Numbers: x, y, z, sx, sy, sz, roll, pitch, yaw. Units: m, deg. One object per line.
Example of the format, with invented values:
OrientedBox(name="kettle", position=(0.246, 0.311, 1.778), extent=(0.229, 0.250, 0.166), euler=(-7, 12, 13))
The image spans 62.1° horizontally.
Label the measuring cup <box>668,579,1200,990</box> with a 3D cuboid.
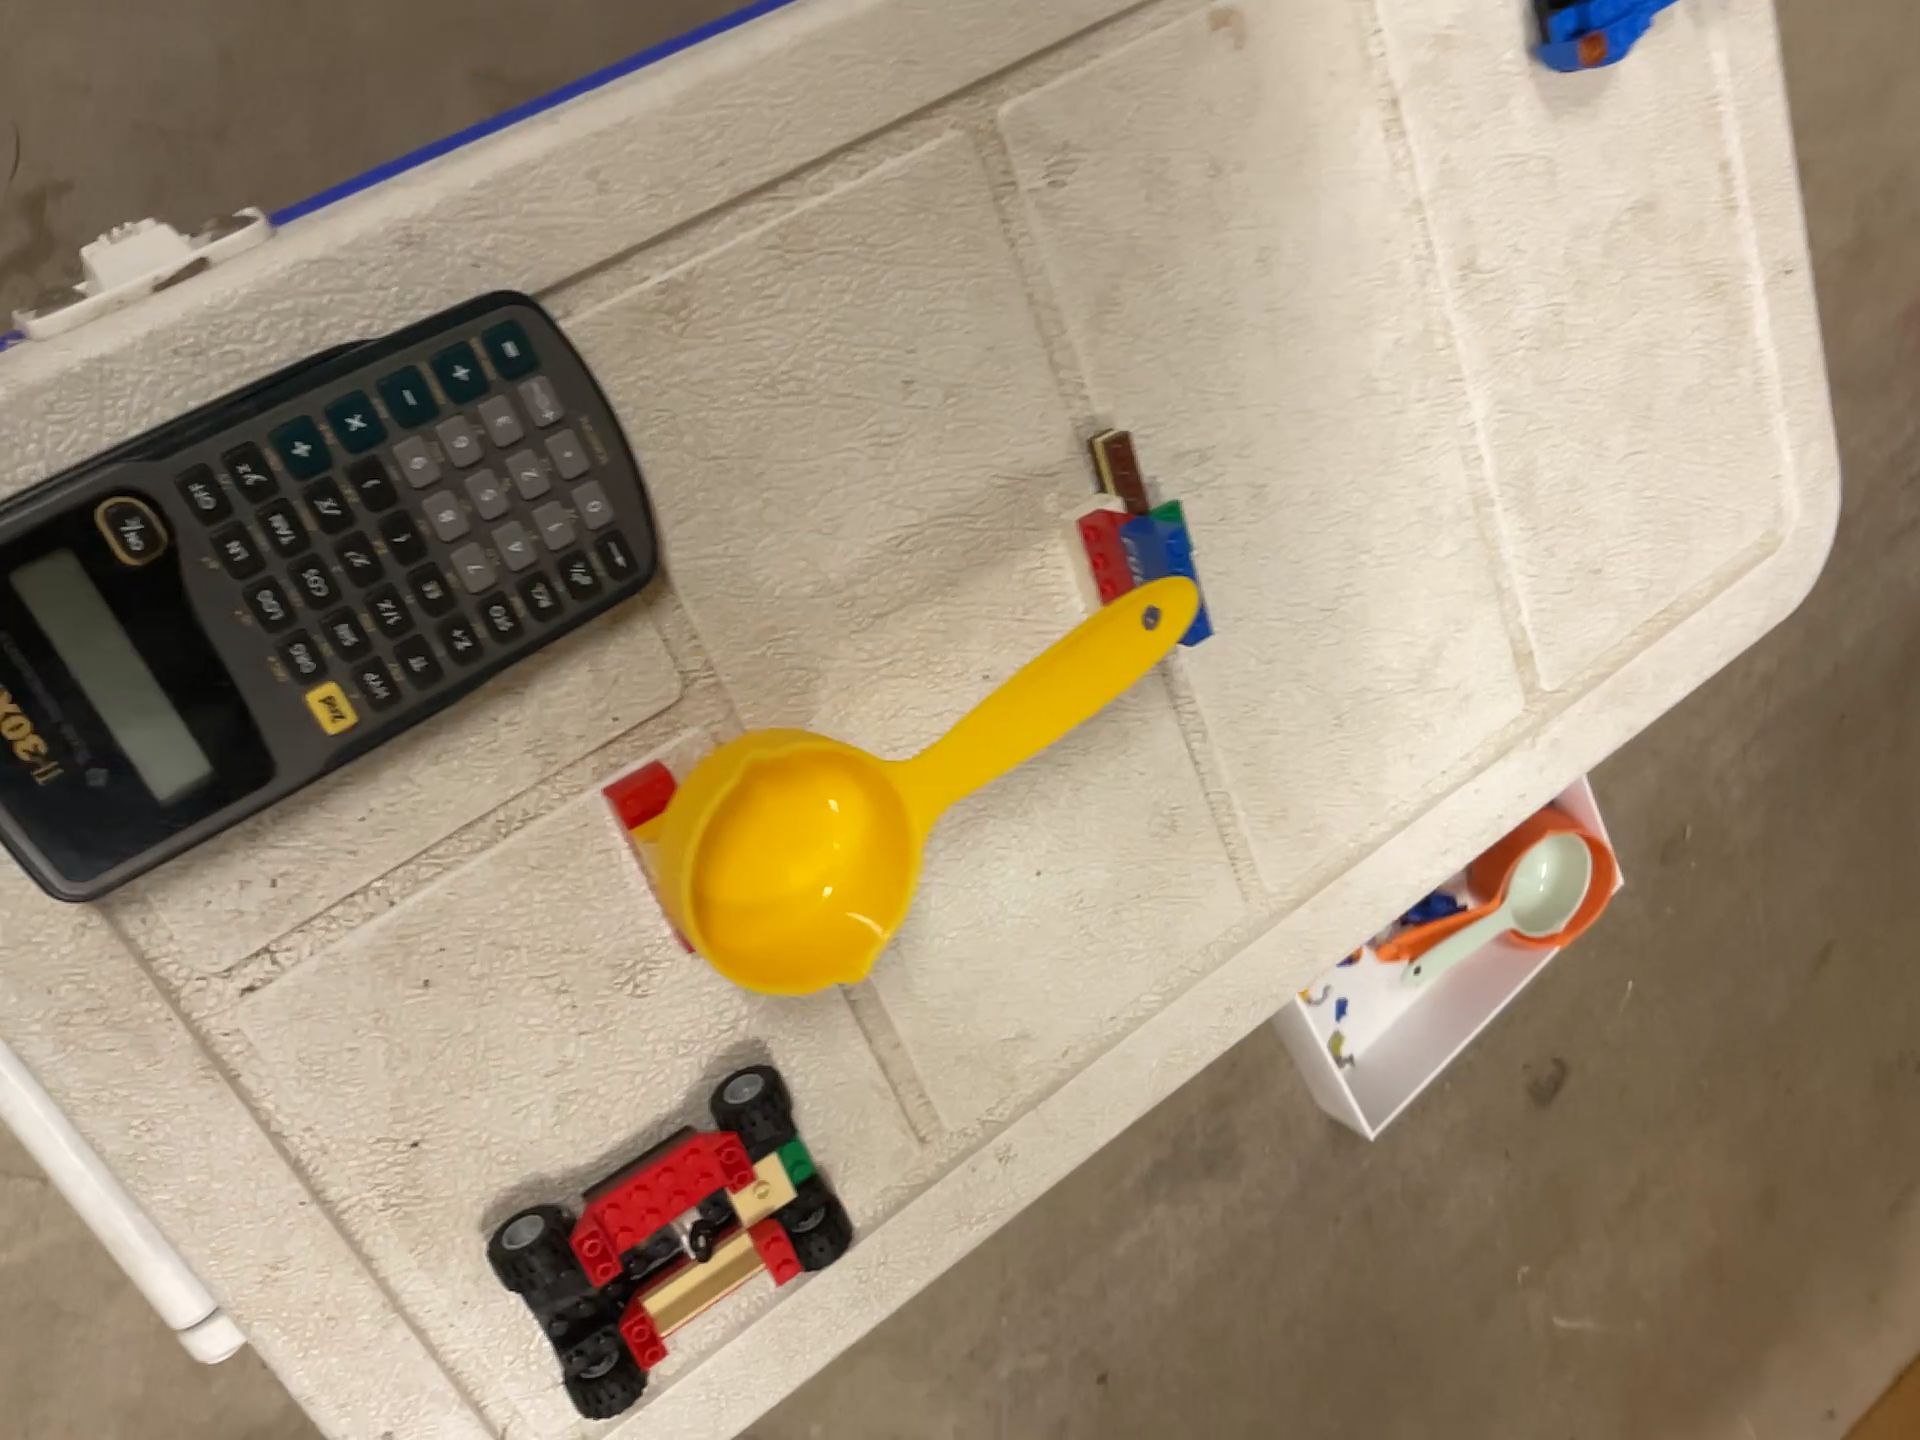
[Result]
OrientedBox(name="measuring cup", position=(-0.004, 0.006, 0.395), extent=(0.156, 0.029, 0.062), euler=(-35, 118, -22))
